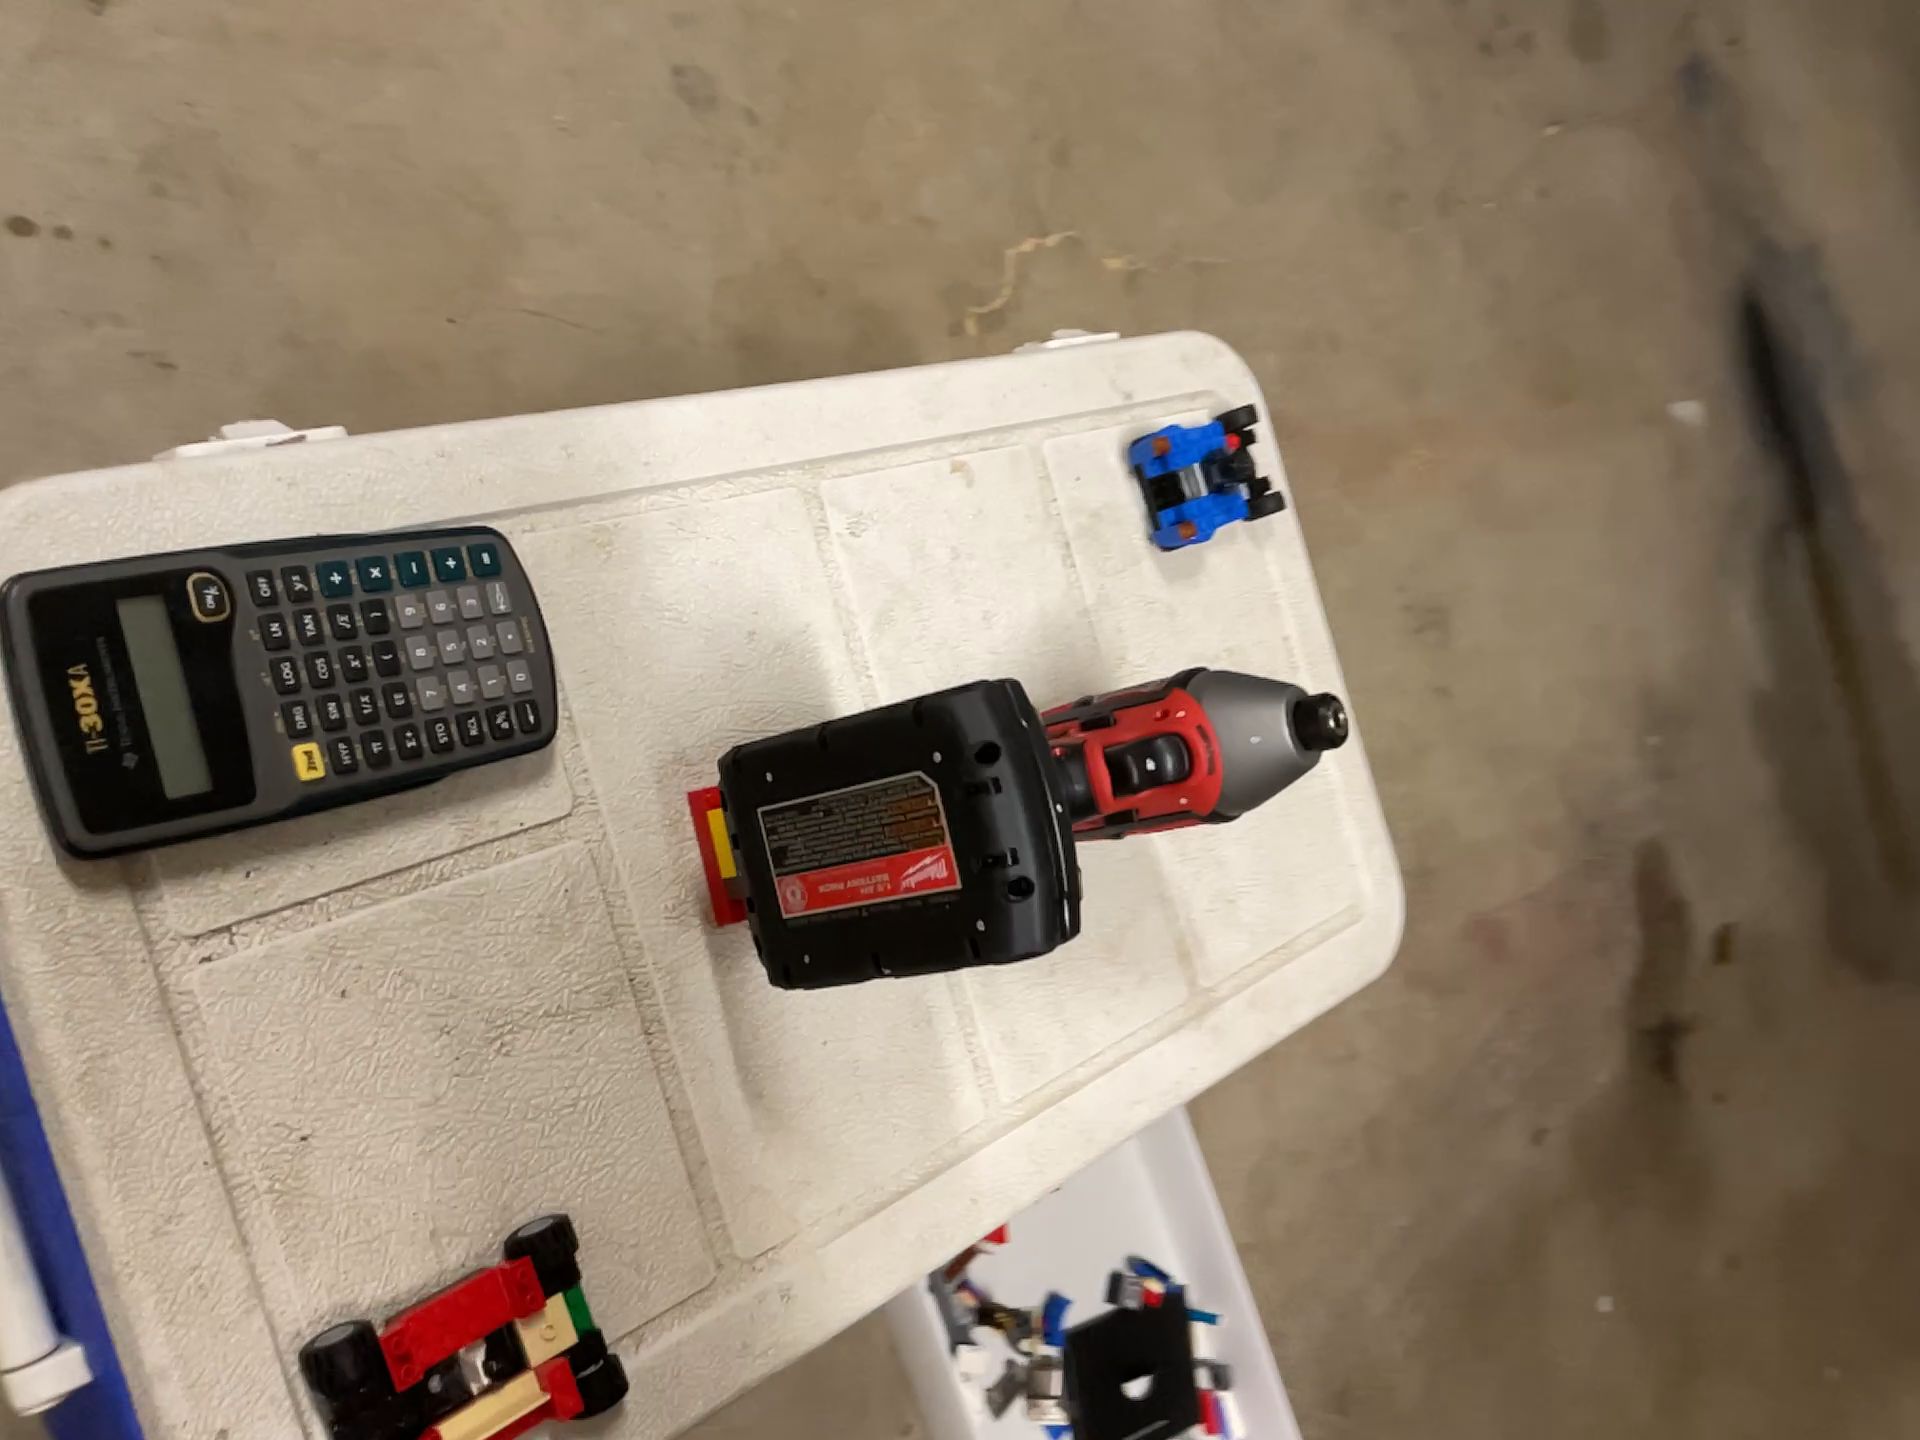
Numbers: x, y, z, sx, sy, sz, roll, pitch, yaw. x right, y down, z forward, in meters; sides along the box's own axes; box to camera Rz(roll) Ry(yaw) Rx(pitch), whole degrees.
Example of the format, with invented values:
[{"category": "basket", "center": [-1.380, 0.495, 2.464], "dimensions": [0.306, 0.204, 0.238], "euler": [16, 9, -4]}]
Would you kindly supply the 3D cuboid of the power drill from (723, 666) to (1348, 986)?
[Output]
[{"category": "power drill", "center": [0.037, 0.023, 0.556], "dimensions": [0.220, 0.143, 0.078], "euler": [-12, 89, -55]}]
